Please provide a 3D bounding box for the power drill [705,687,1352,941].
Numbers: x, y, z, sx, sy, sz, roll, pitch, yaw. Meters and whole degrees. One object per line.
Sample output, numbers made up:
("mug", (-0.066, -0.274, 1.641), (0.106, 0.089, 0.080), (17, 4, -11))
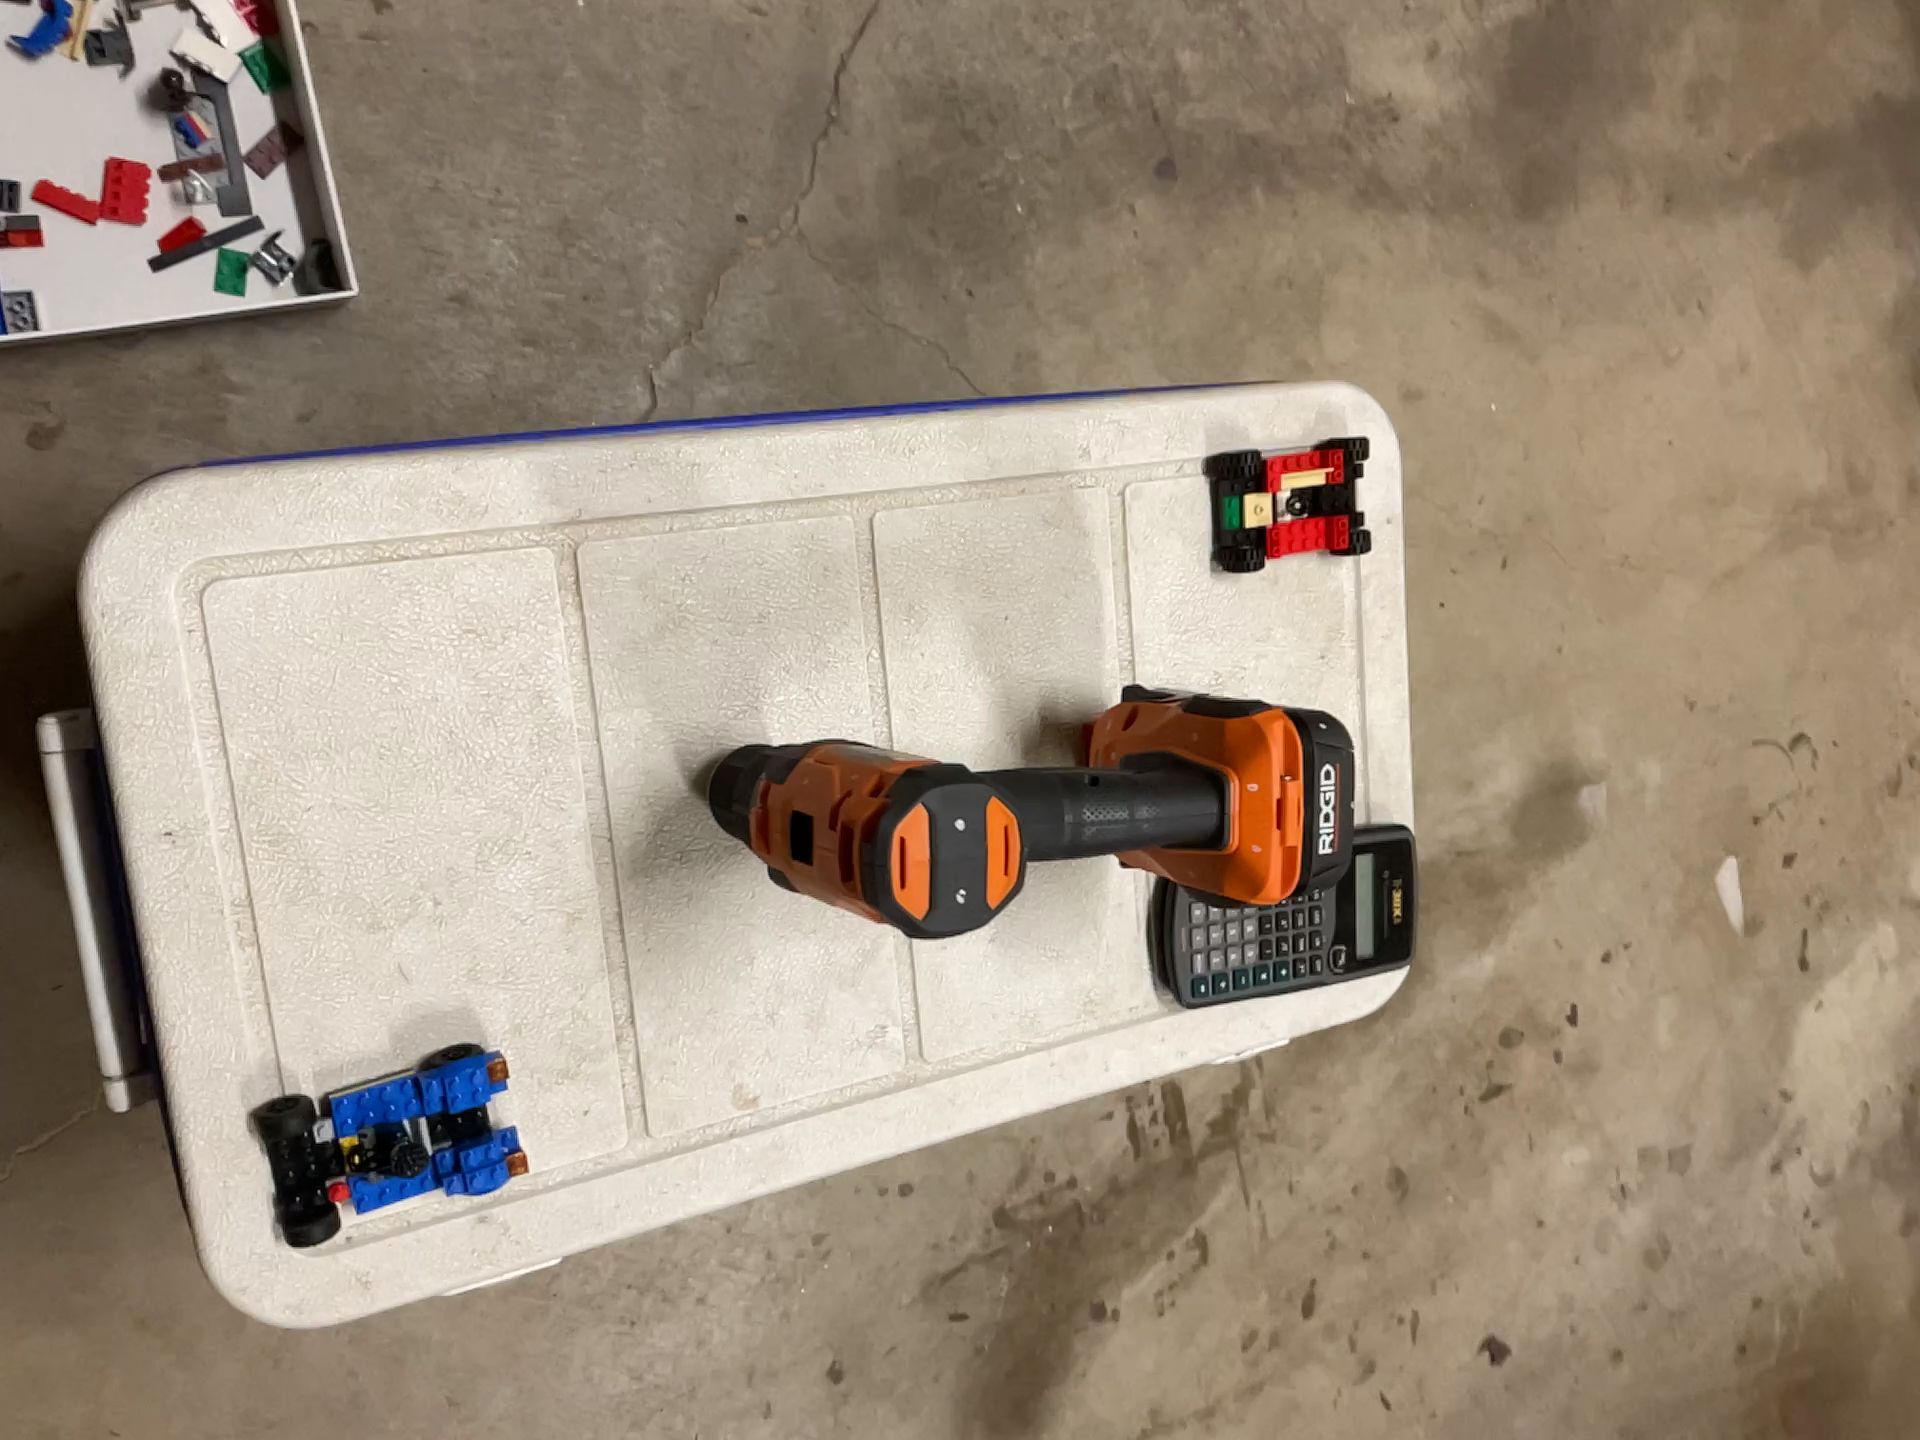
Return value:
("power drill", (0.020, 0.033, 0.647), (0.226, 0.185, 0.084), (-4, 97, -31))
